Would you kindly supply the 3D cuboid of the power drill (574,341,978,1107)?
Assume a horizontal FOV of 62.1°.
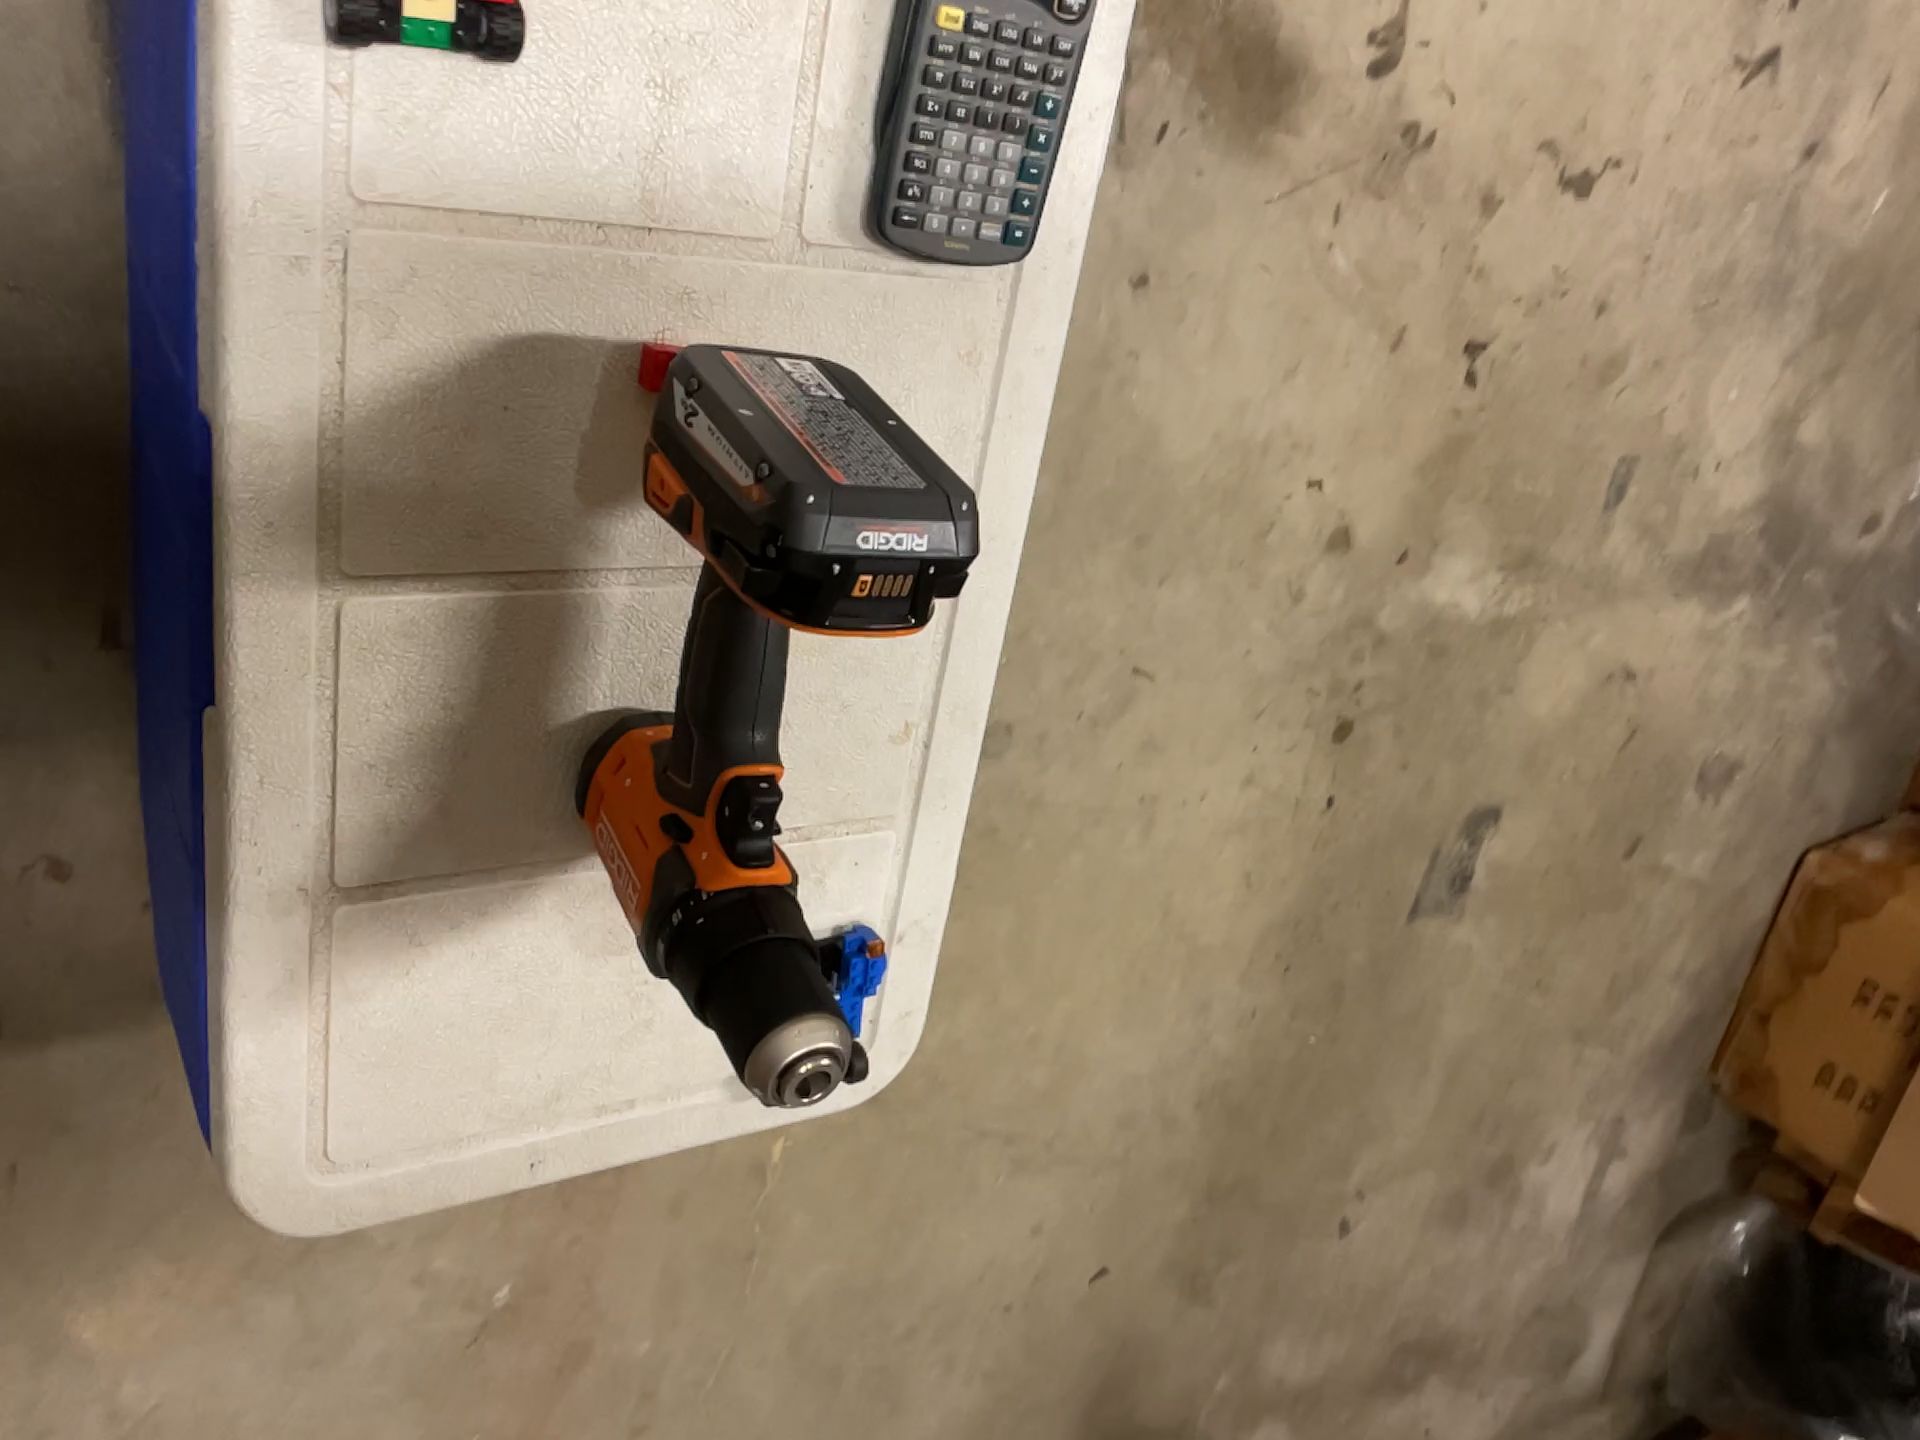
[{"bbox_3d":[-0.068,0.005,0.564,0.084,0.185,0.225,-1,126,-33],"label":"power drill"}]
